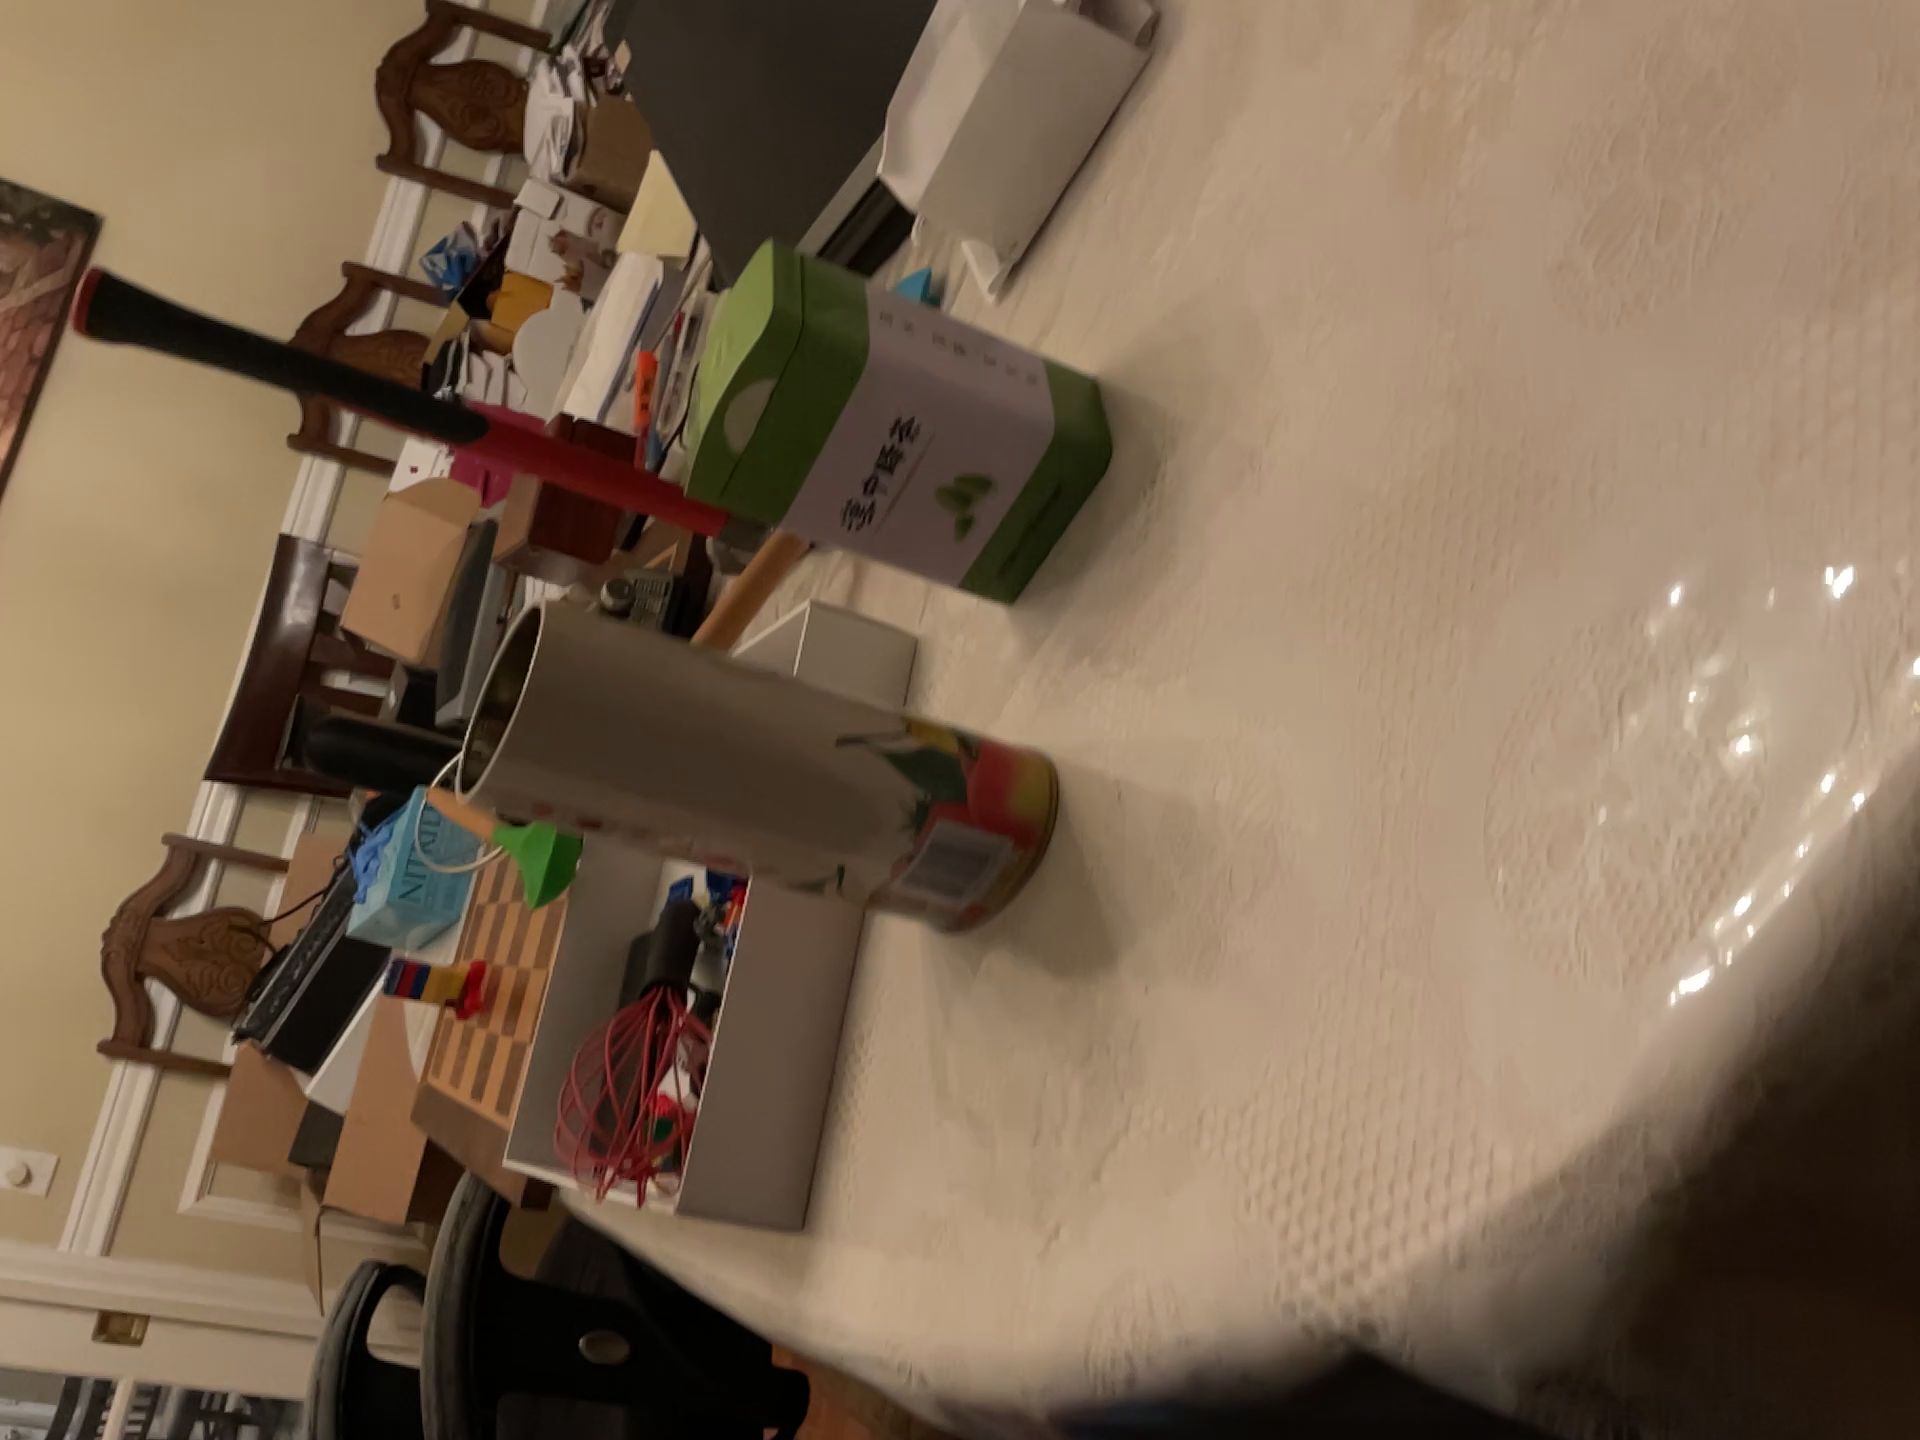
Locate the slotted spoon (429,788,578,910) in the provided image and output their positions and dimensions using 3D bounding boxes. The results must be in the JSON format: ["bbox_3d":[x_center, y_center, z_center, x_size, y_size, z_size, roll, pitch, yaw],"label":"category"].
[{"bbox_3d":[-0.317,0.072,1.082,0.314,0.031,0.070,10,86,58],"label":"slotted spoon"}]

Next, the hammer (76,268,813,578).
[{"bbox_3d":[-0.264,-0.160,0.859,0.143,0.385,0.038,-10,65,64],"label":"hammer"}]

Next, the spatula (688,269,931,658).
[{"bbox_3d":[-0.099,-0.093,0.810,0.317,0.044,0.082,-56,21,-16],"label":"spatula"}]

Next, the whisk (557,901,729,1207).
[{"bbox_3d":[-0.139,0.141,0.749,0.073,0.073,0.296,-50,13,7],"label":"whisk"}]

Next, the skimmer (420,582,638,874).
[{"bbox_3d":[-0.328,0.001,1.189,0.363,0.090,0.127,129,151,-49],"label":"skimmer"}]
